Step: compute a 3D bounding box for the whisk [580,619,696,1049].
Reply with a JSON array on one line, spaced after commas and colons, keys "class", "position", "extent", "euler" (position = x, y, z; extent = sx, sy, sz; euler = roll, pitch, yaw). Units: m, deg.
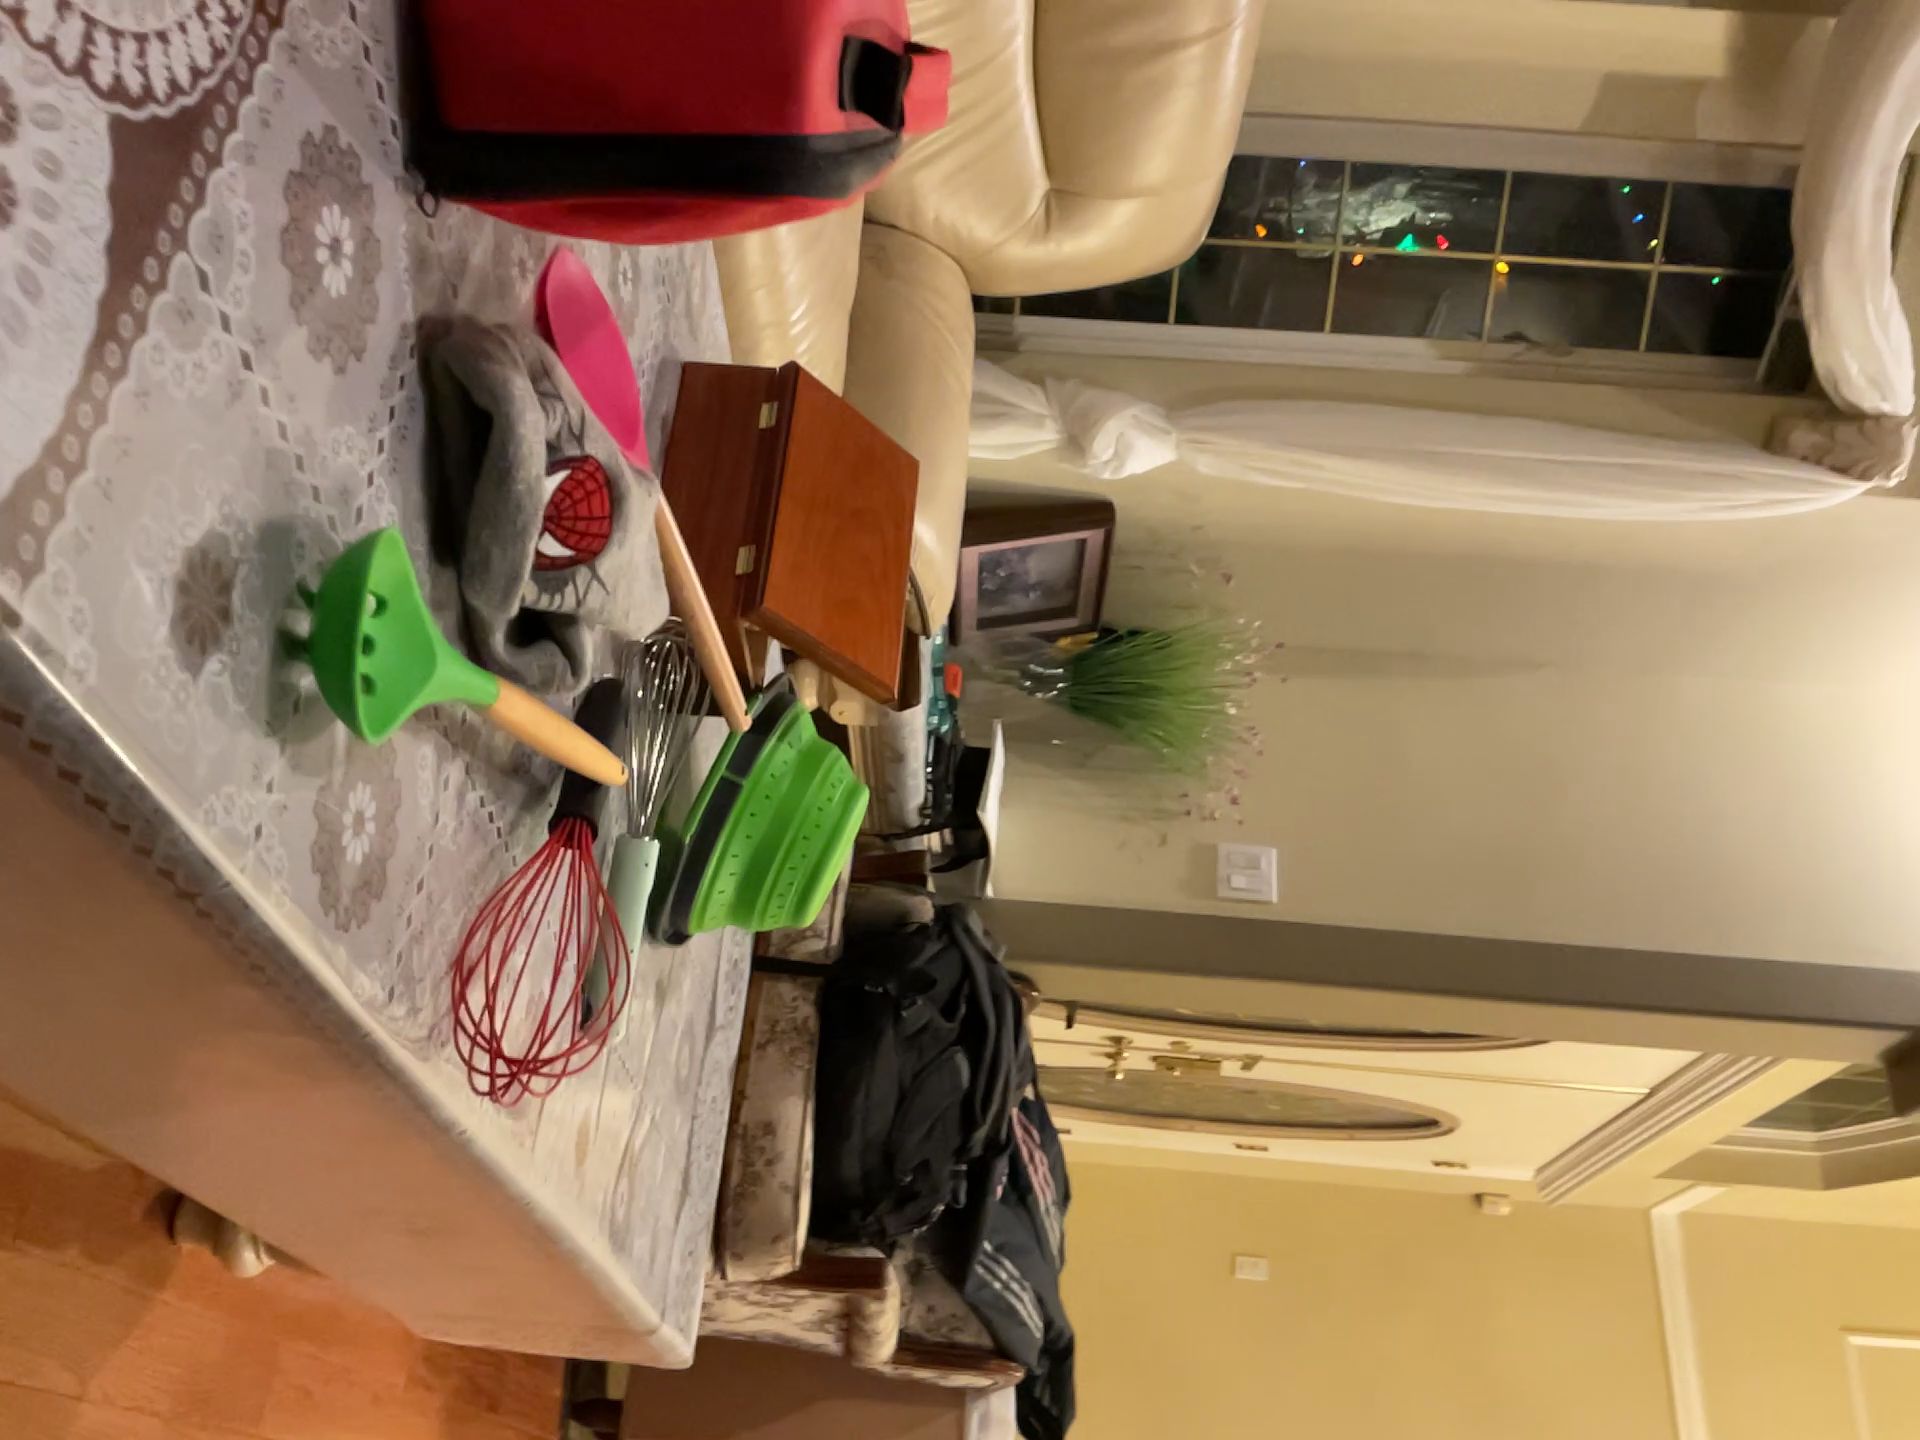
[{"class": "whisk", "position": [-0.187, 0.061, 0.899], "extent": [0.057, 0.059, 0.246], "euler": [17, 75, -46]}]

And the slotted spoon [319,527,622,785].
[{"class": "slotted spoon", "position": [-0.179, -0.004, 0.624], "extent": [0.313, 0.031, 0.070], "euler": [76, 18, -78]}]

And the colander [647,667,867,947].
[{"class": "colander", "position": [-0.135, 0.099, 1.154], "extent": [0.397, 0.094, 0.205], "euler": [112, 3, -71]}]

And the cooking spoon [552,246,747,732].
[{"class": "cooking spoon", "position": [-0.158, -0.102, 0.835], "extent": [0.318, 0.017, 0.069], "euler": [77, 15, -47]}]

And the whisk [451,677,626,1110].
[{"class": "whisk", "position": [-0.181, 0.062, 0.736], "extent": [0.296, 0.073, 0.073], "euler": [-97, -178, -57]}]
